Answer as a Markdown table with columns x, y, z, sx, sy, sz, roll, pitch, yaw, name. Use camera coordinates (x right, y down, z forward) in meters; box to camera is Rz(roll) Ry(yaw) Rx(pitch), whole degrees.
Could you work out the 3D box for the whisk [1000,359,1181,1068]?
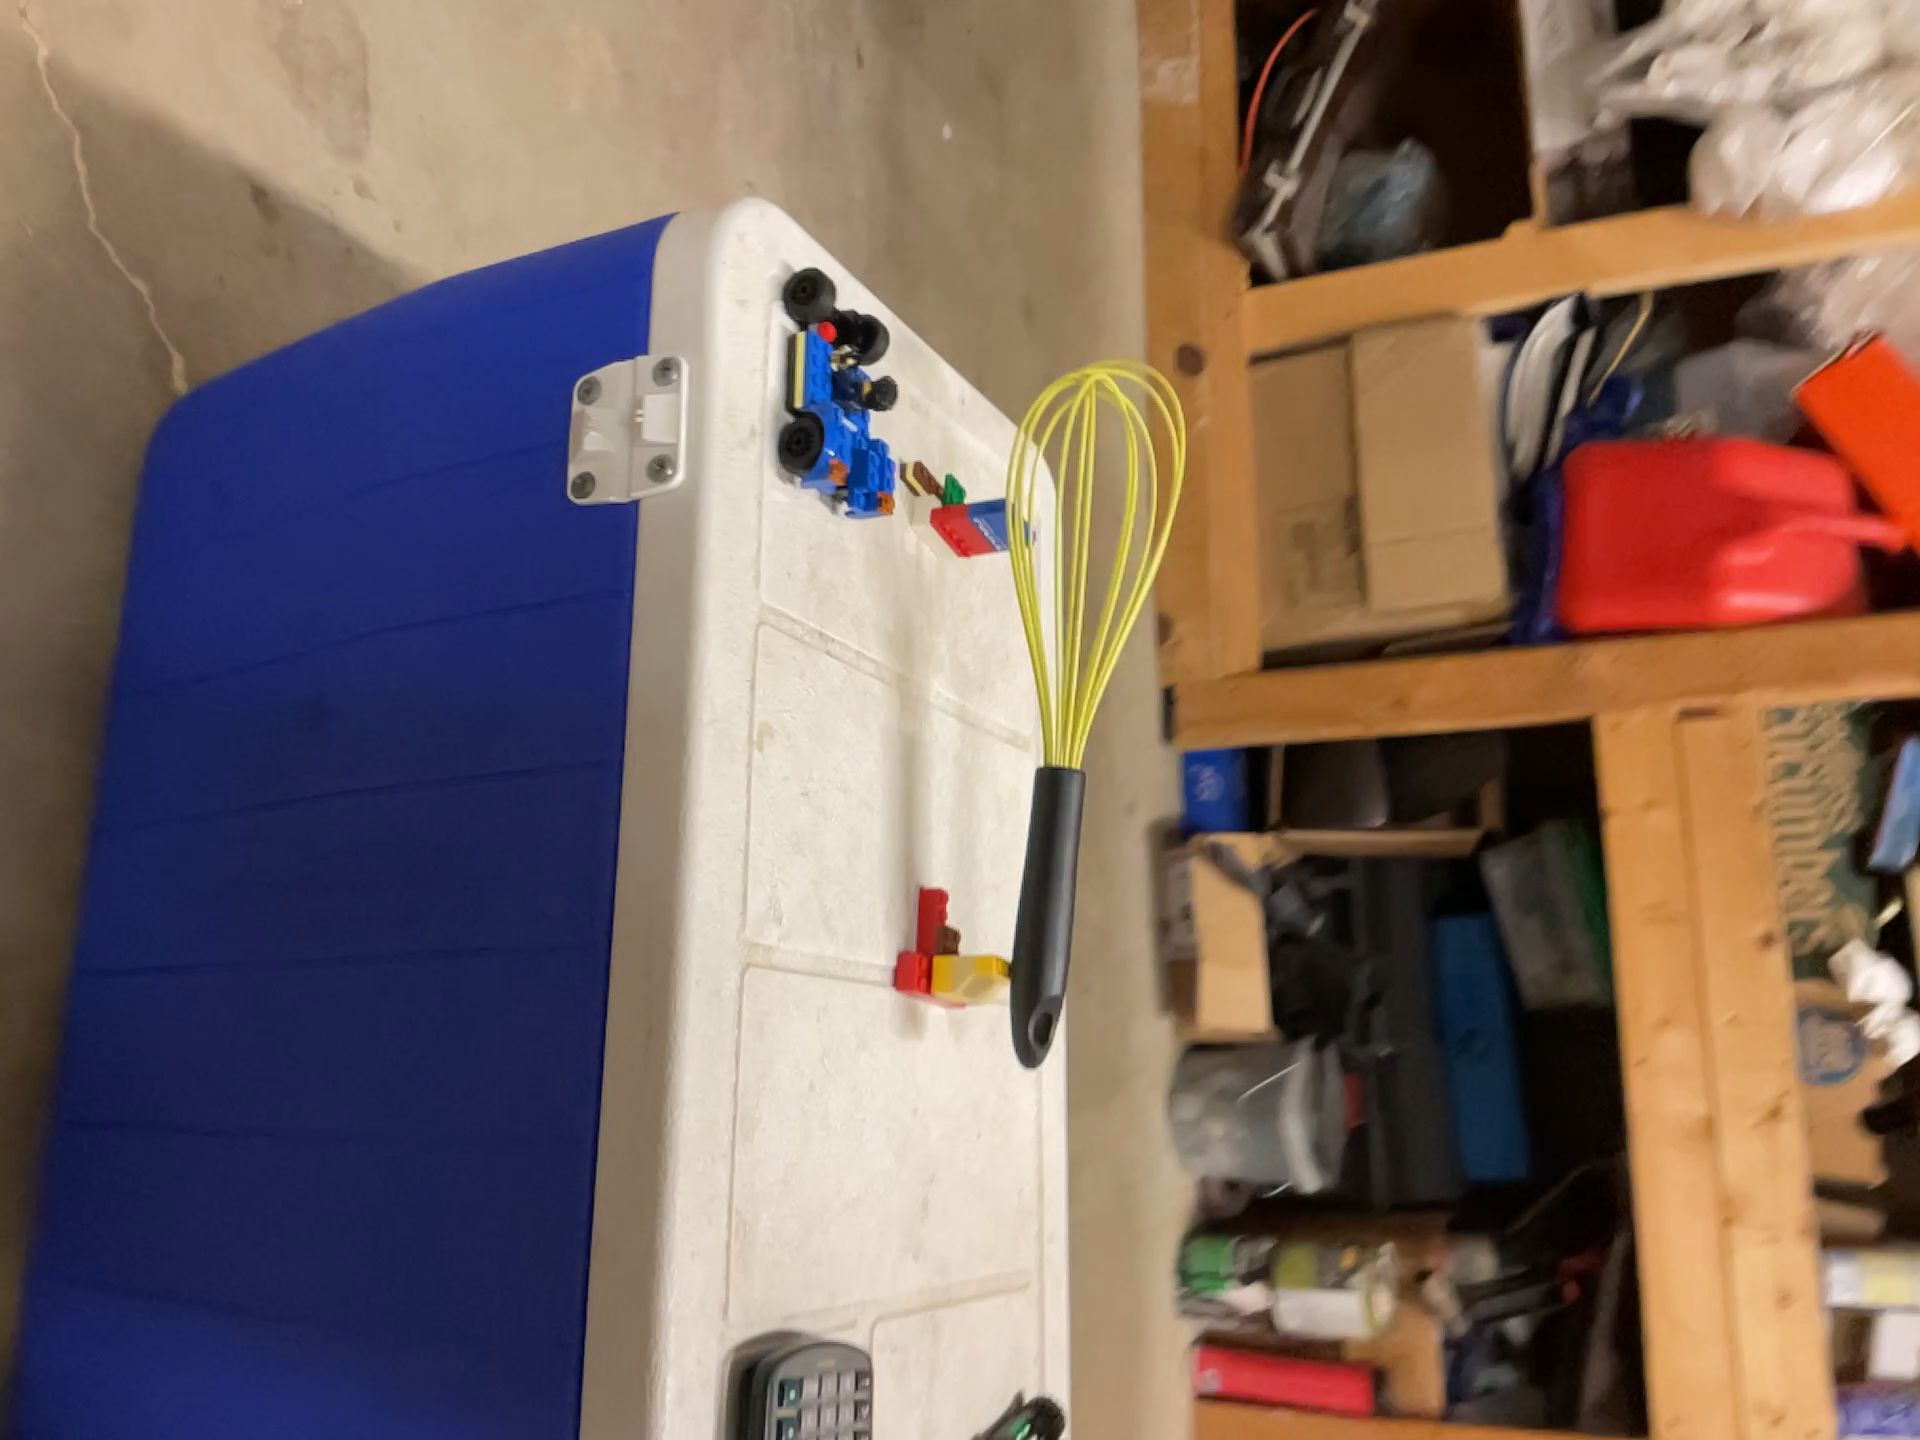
| x | y | z | sx | sy | sz | roll | pitch | yaw | name |
| --- | --- | --- | --- | --- | --- | --- | --- | --- | --- |
| 0.045 | -0.008 | 0.691 | 0.080 | 0.067 | 0.311 | 9 | 81 | -16 | whisk |
